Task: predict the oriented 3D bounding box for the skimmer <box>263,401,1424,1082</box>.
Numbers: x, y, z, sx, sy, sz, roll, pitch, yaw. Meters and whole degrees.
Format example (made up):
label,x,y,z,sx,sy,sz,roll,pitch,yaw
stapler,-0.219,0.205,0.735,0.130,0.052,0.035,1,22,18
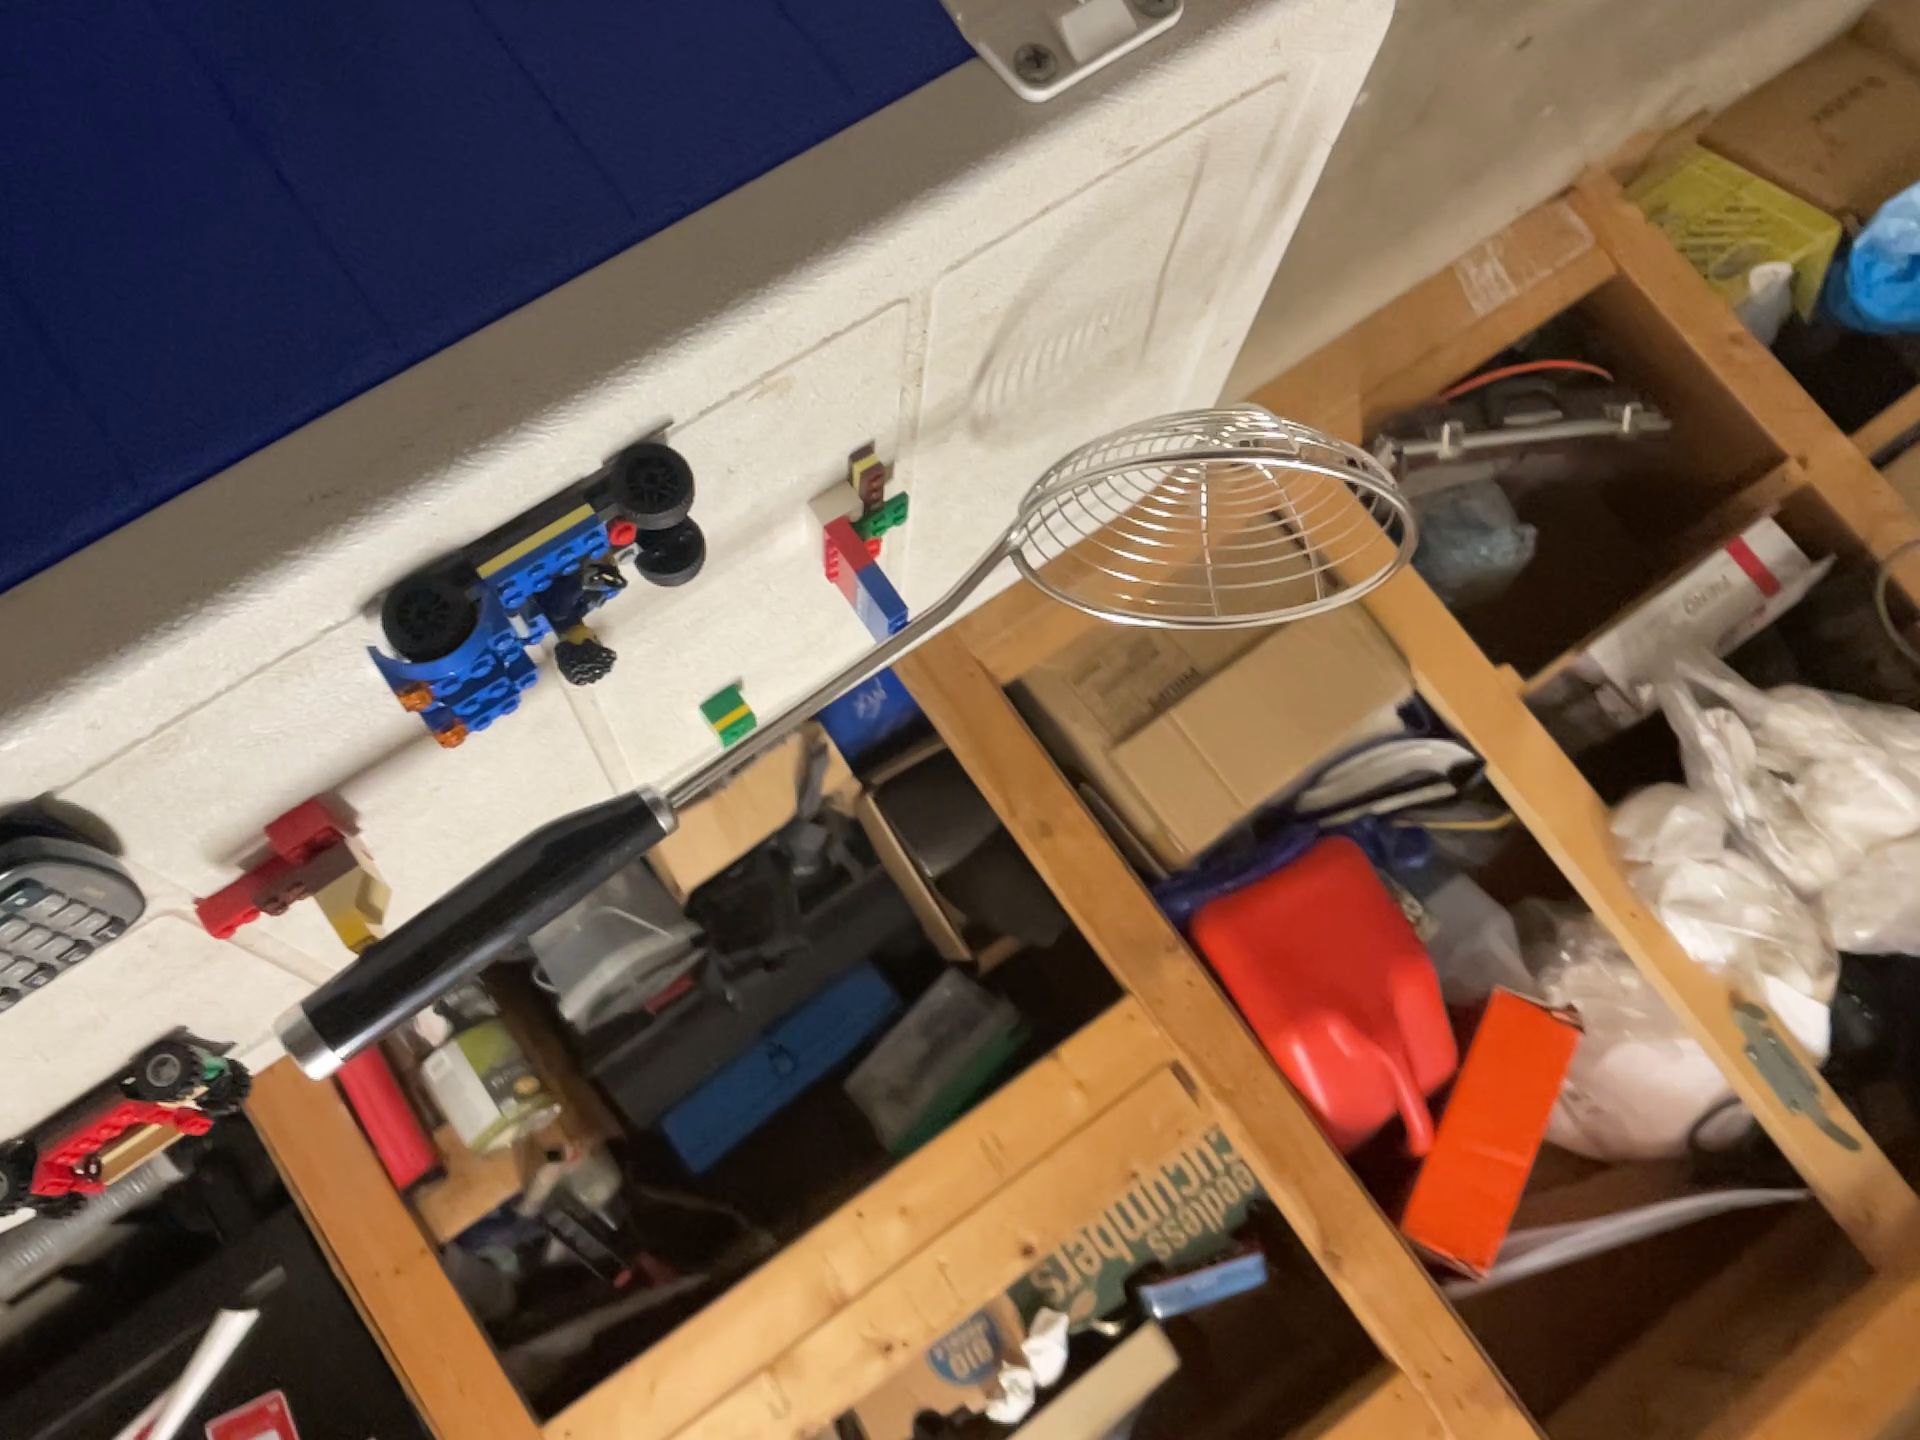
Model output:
label,x,y,z,sx,sy,sz,roll,pitch,yaw
skimmer,-0.026,0.015,0.478,0.363,0.090,0.127,-35,166,-13
